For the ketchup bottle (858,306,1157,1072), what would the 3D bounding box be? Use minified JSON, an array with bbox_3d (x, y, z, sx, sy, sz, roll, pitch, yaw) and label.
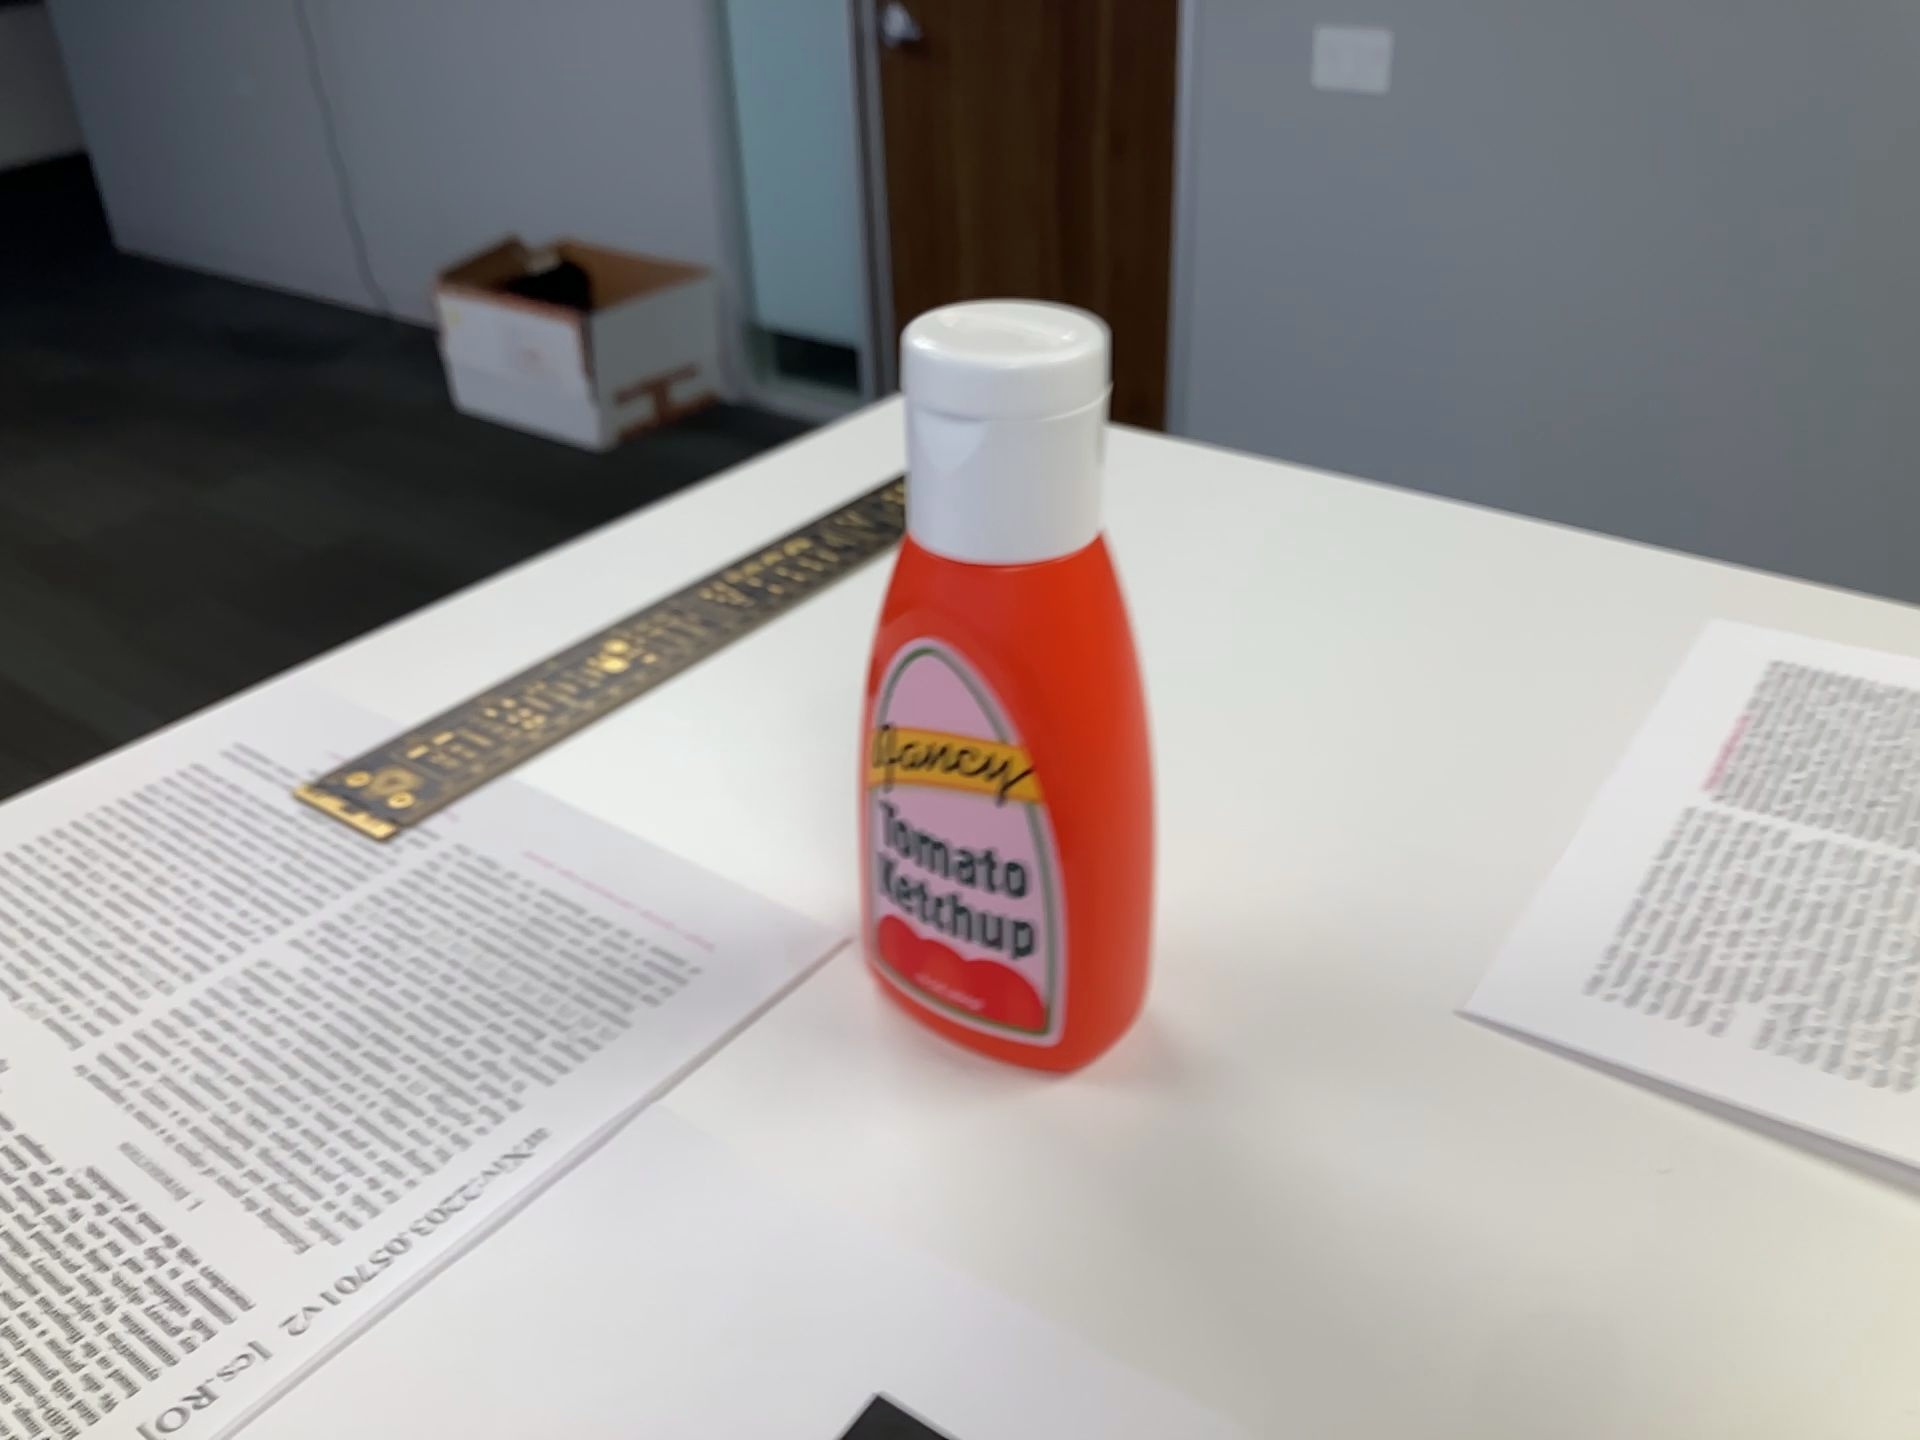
[{"bbox_3d":[0.009,-0.004,0.317,0.065,0.149,0.043,20,35,32],"label":"ketchup bottle"}]
